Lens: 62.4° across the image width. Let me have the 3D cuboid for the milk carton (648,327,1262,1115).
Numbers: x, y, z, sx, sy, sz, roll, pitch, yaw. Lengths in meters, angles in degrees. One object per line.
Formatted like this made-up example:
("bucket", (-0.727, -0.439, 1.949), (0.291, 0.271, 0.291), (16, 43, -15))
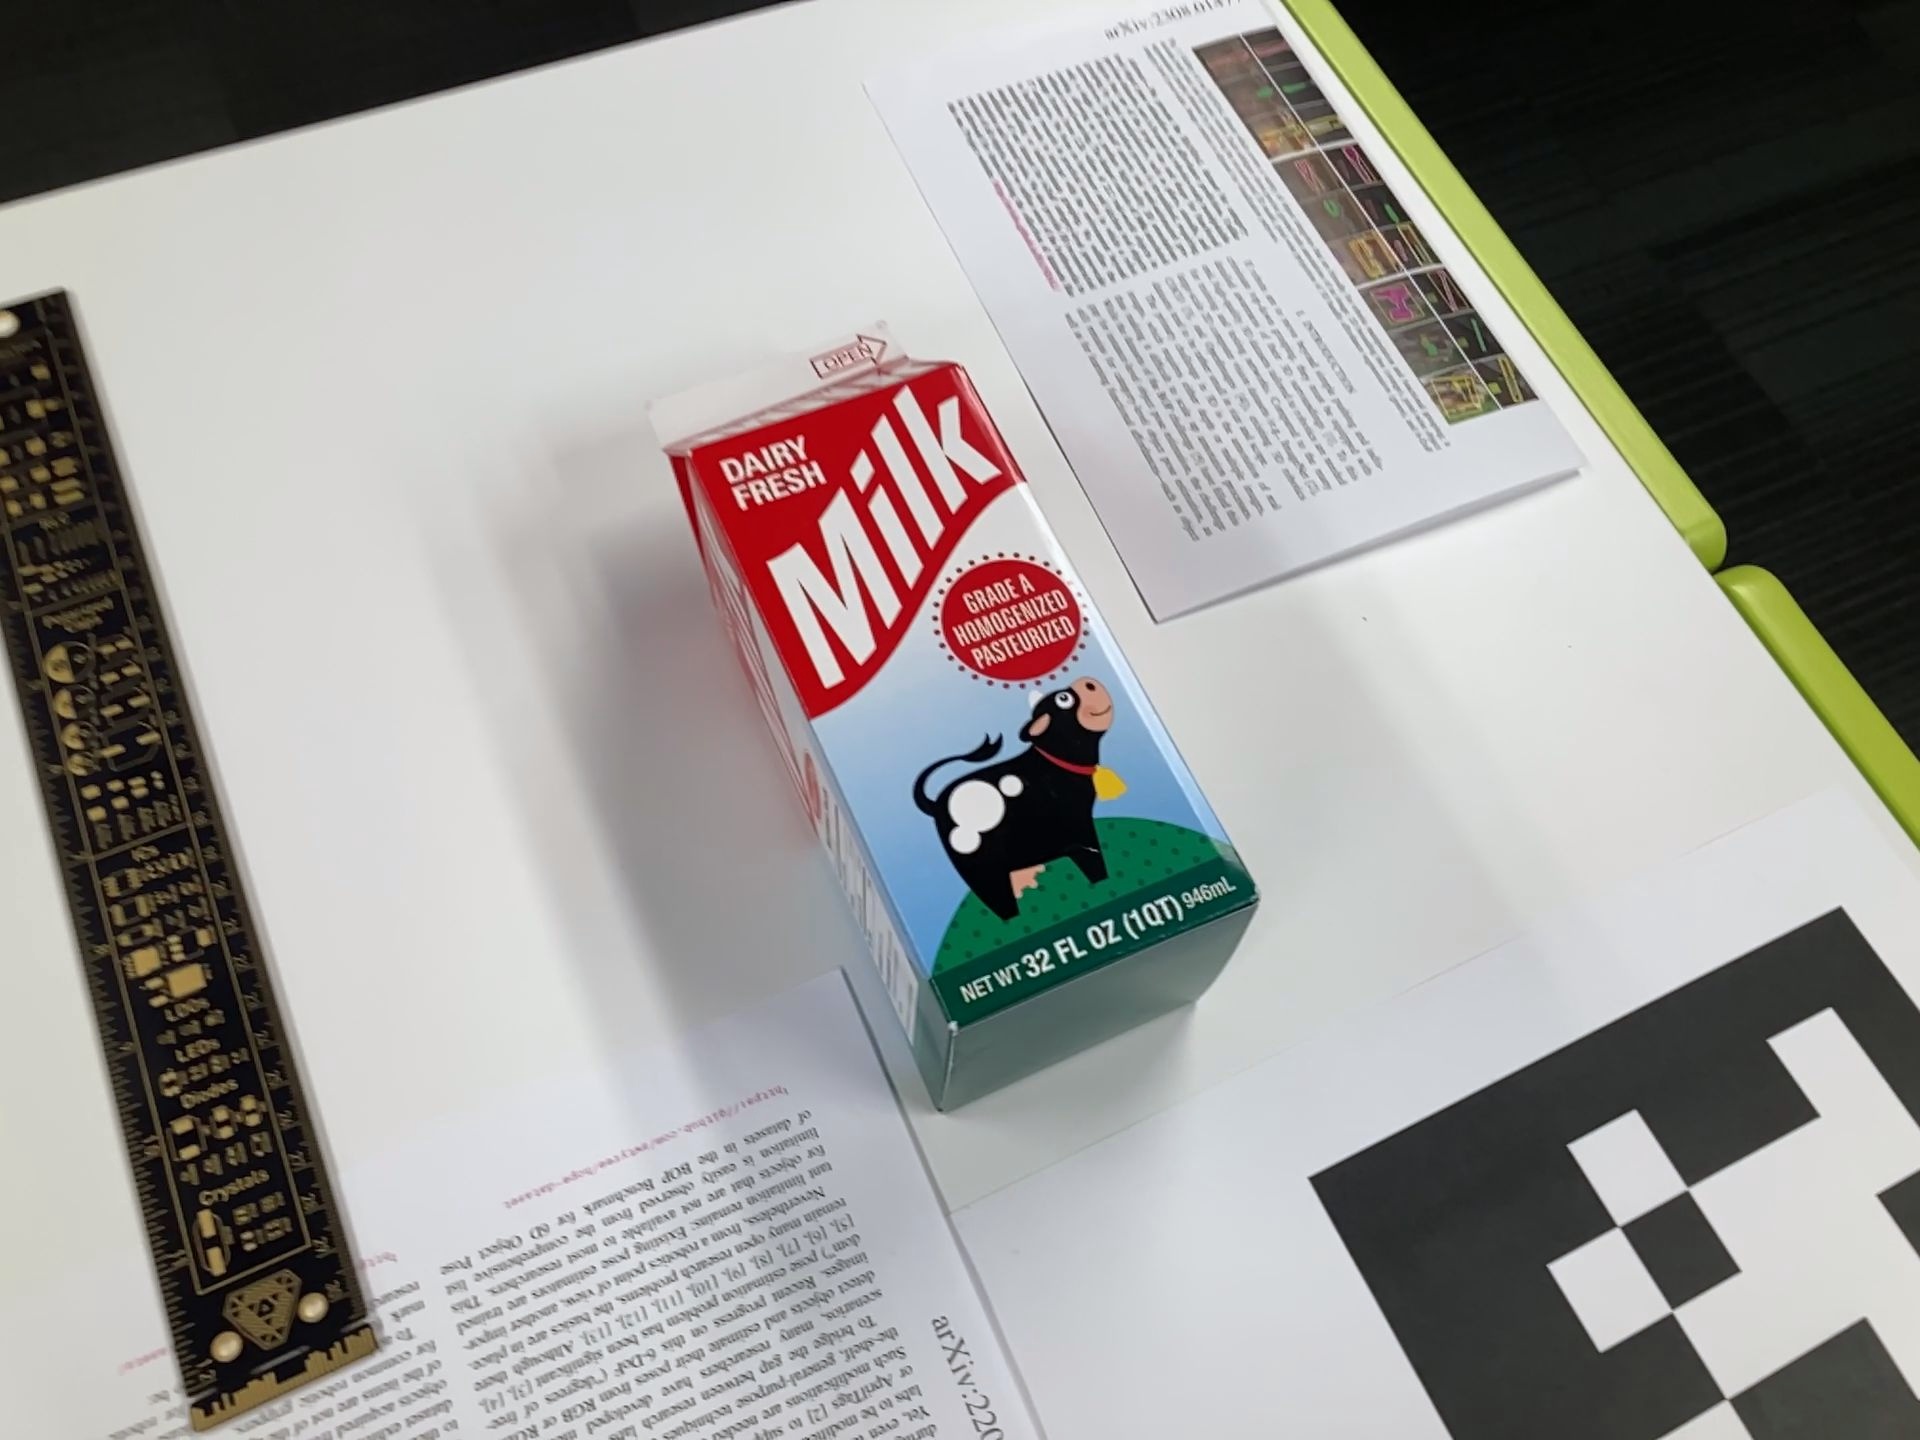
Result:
("milk carton", (-0.010, -0.014, 0.379), (0.072, 0.073, 0.190), (-22, 66, -13))
